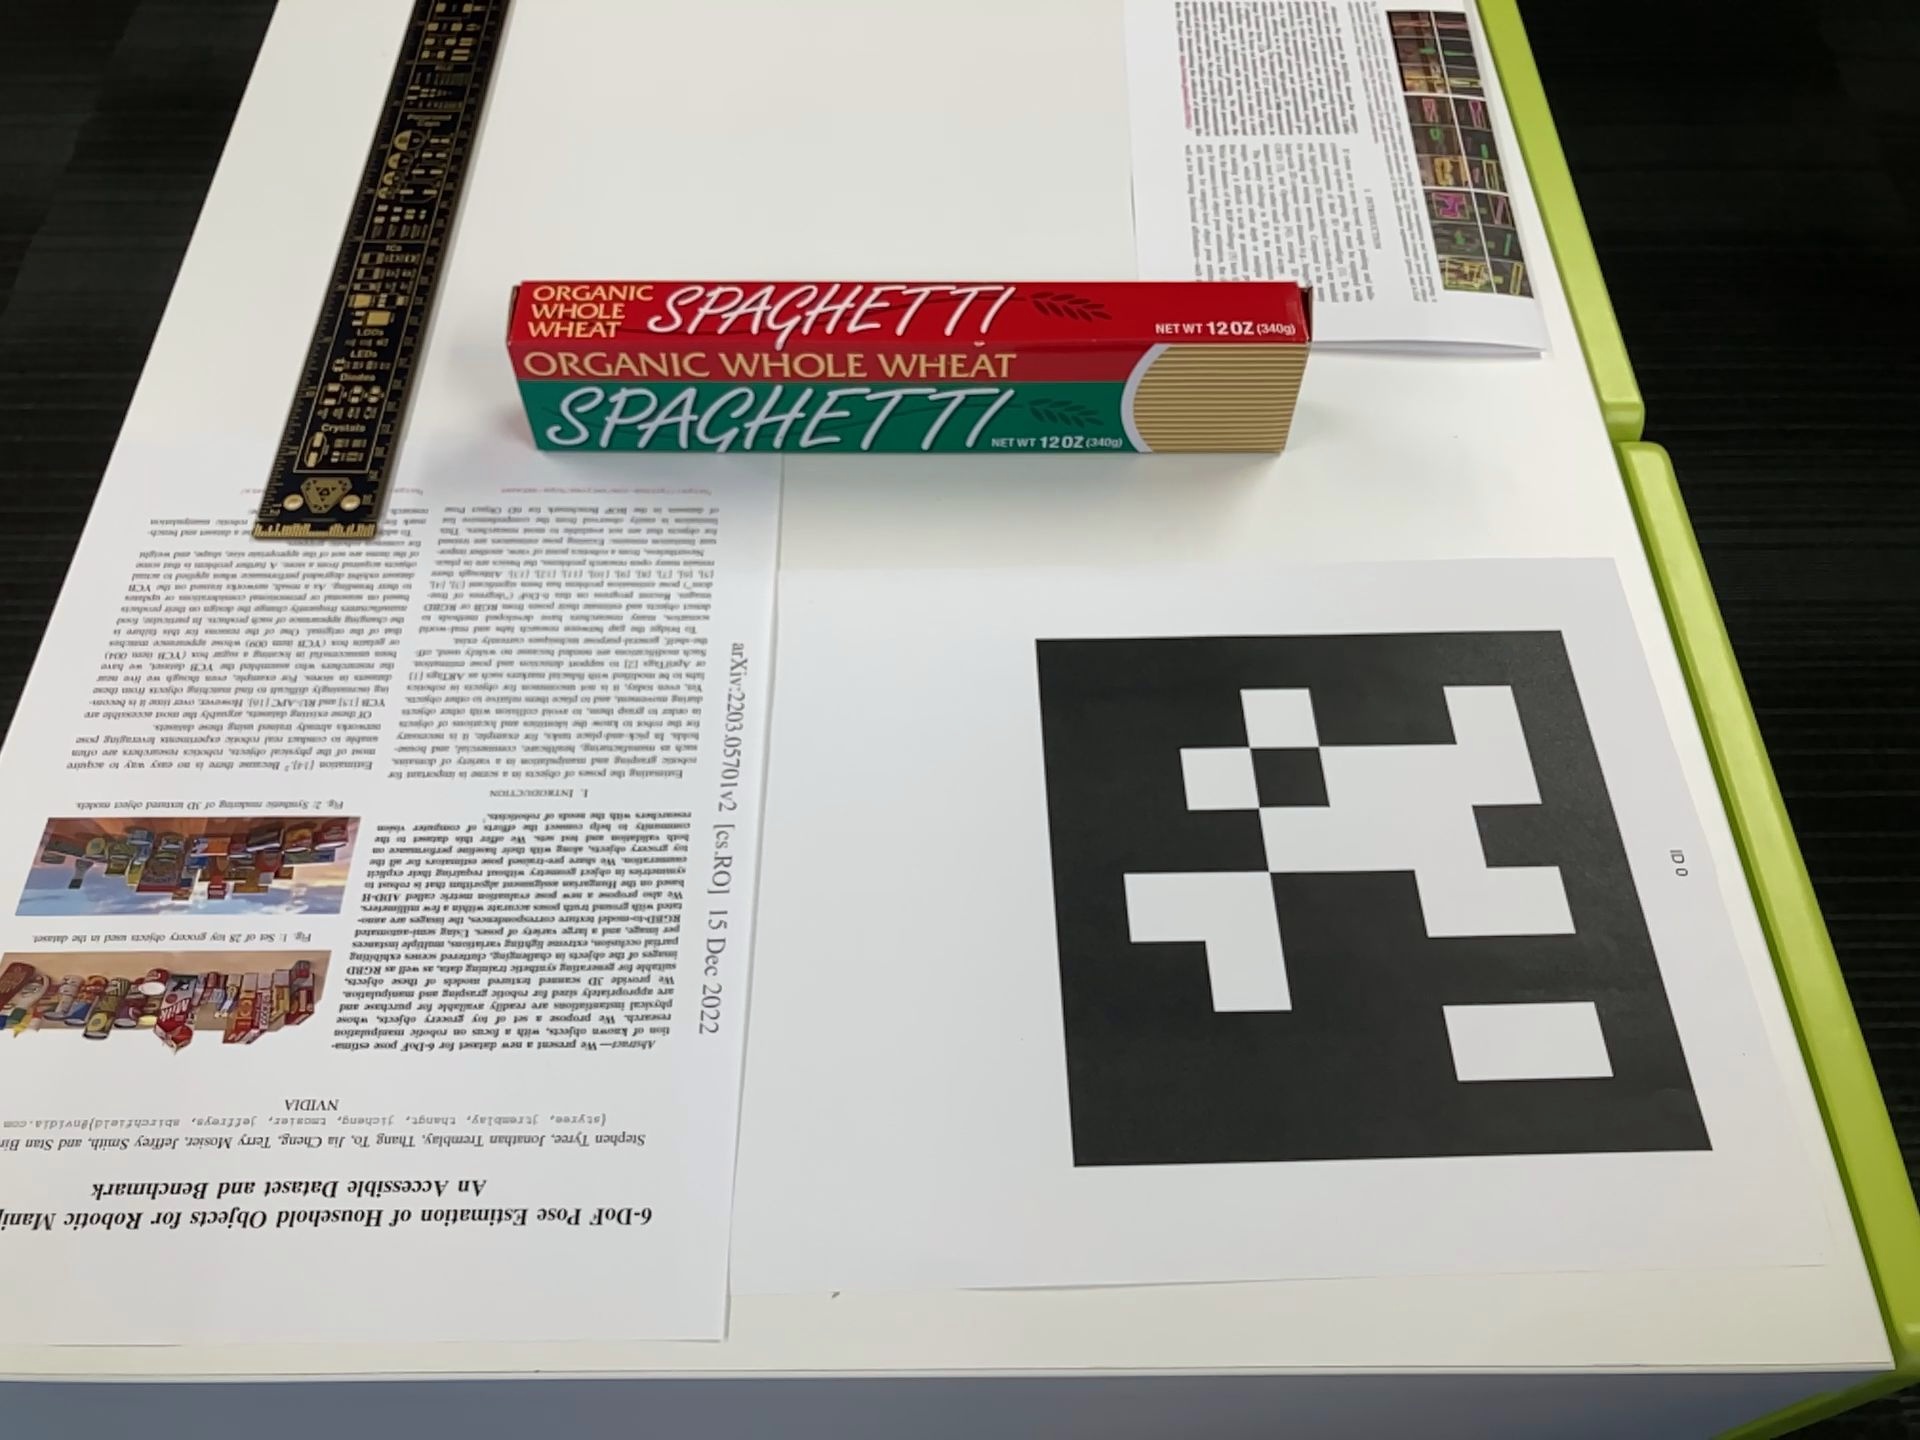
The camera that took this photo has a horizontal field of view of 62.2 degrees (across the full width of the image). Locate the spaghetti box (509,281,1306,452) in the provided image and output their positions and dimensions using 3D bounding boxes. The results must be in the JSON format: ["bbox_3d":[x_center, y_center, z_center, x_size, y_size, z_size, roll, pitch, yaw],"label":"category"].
[{"bbox_3d":[-0.017,-0.114,0.514,0.250,0.050,0.028,0,55,-1],"label":"spaghetti box"}]
